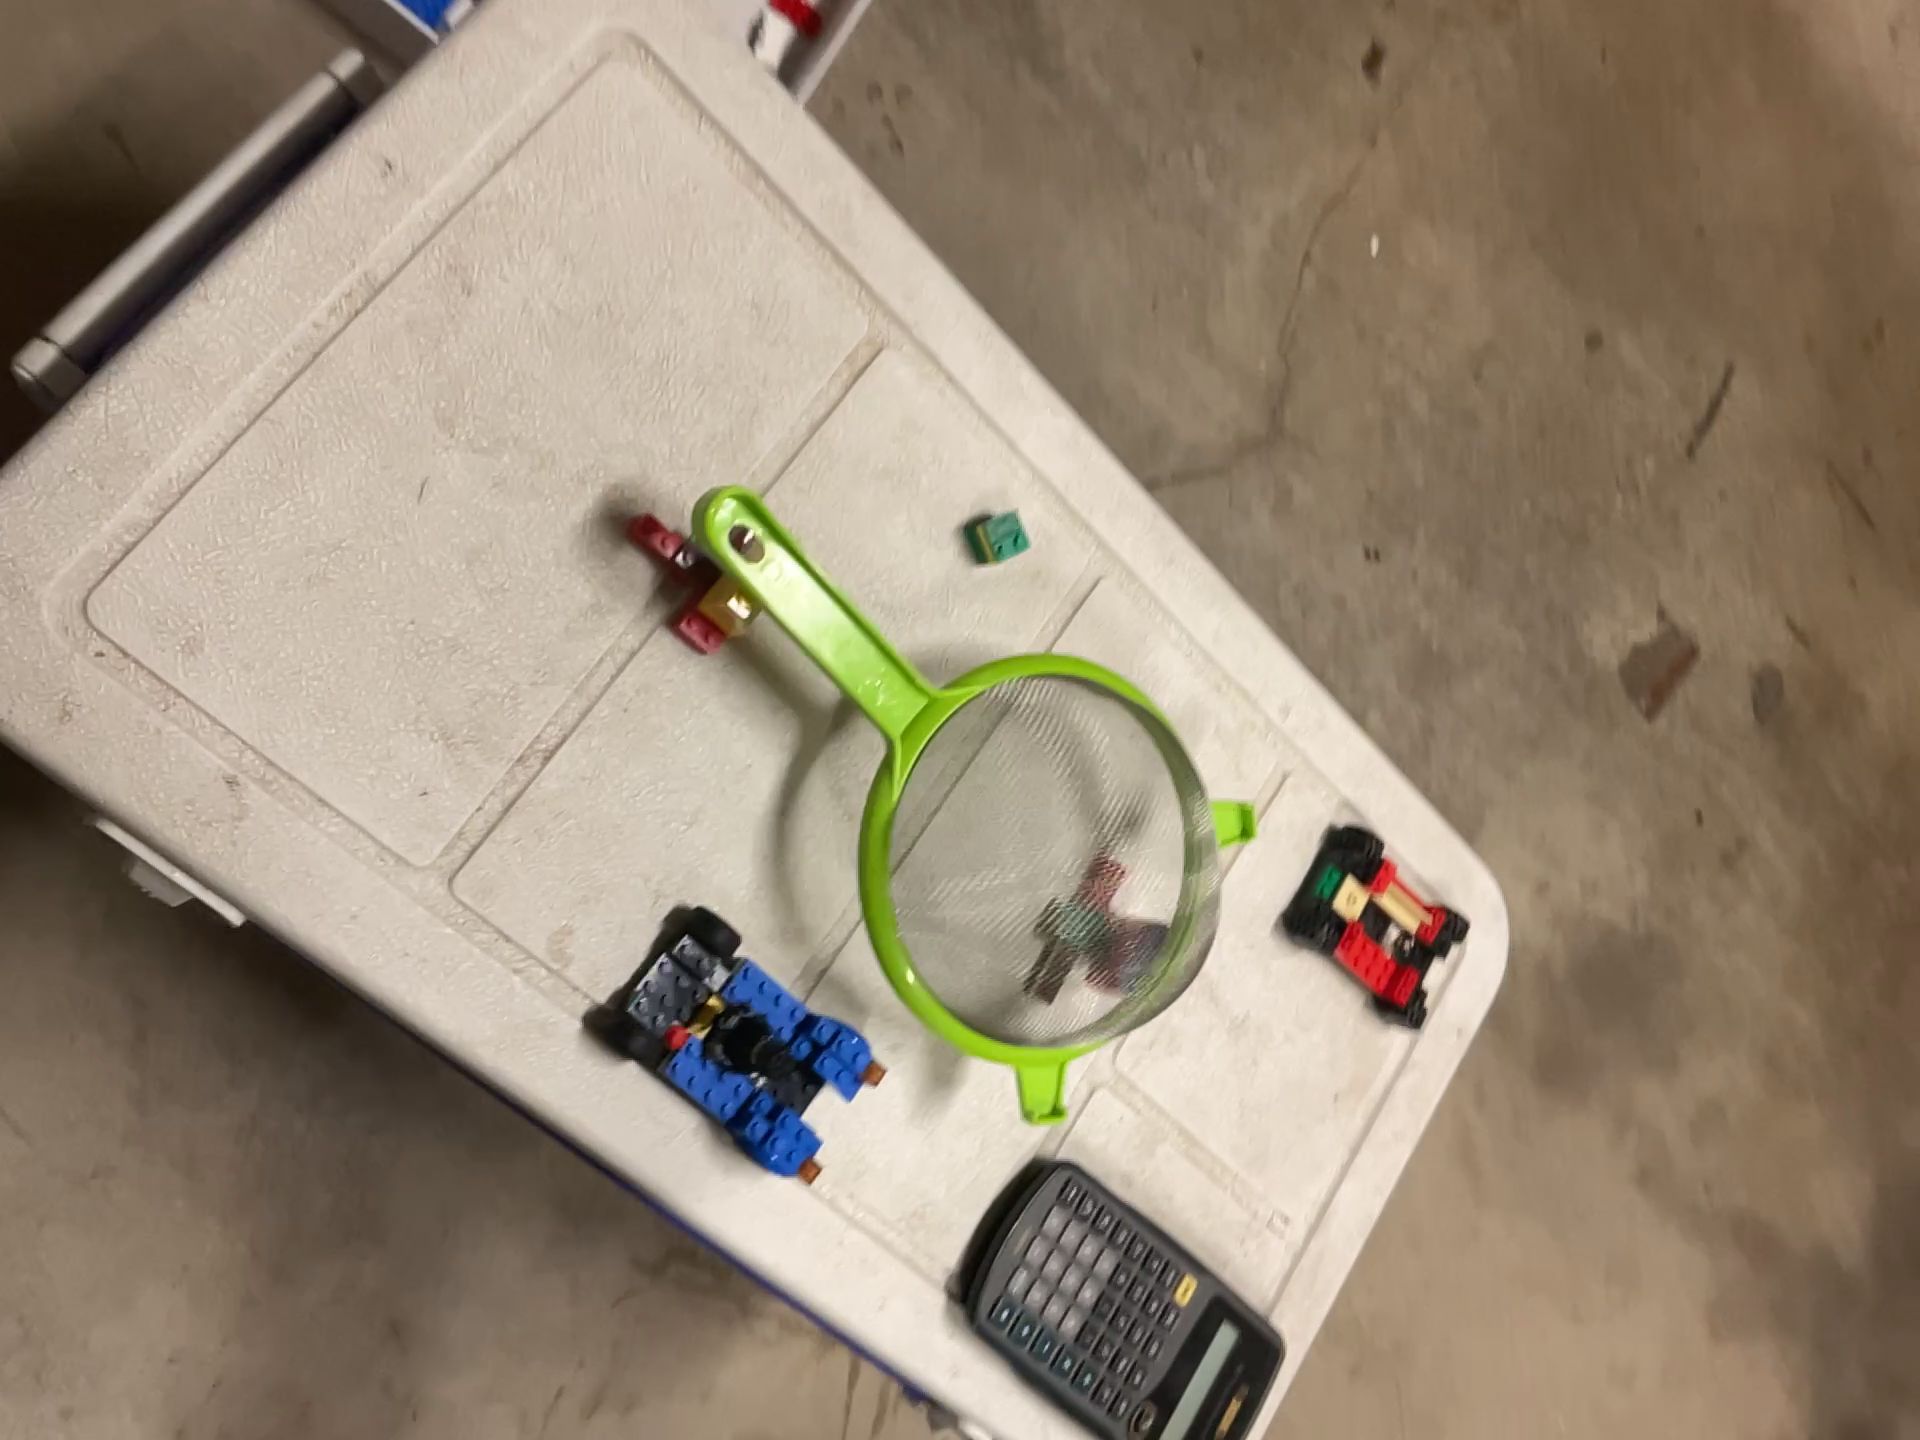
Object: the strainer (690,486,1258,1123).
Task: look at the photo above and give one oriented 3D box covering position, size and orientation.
[{"bbox_3d":[0.010,0.015,0.542,0.256,0.069,0.152,47,69,-23],"label":"strainer"}]
